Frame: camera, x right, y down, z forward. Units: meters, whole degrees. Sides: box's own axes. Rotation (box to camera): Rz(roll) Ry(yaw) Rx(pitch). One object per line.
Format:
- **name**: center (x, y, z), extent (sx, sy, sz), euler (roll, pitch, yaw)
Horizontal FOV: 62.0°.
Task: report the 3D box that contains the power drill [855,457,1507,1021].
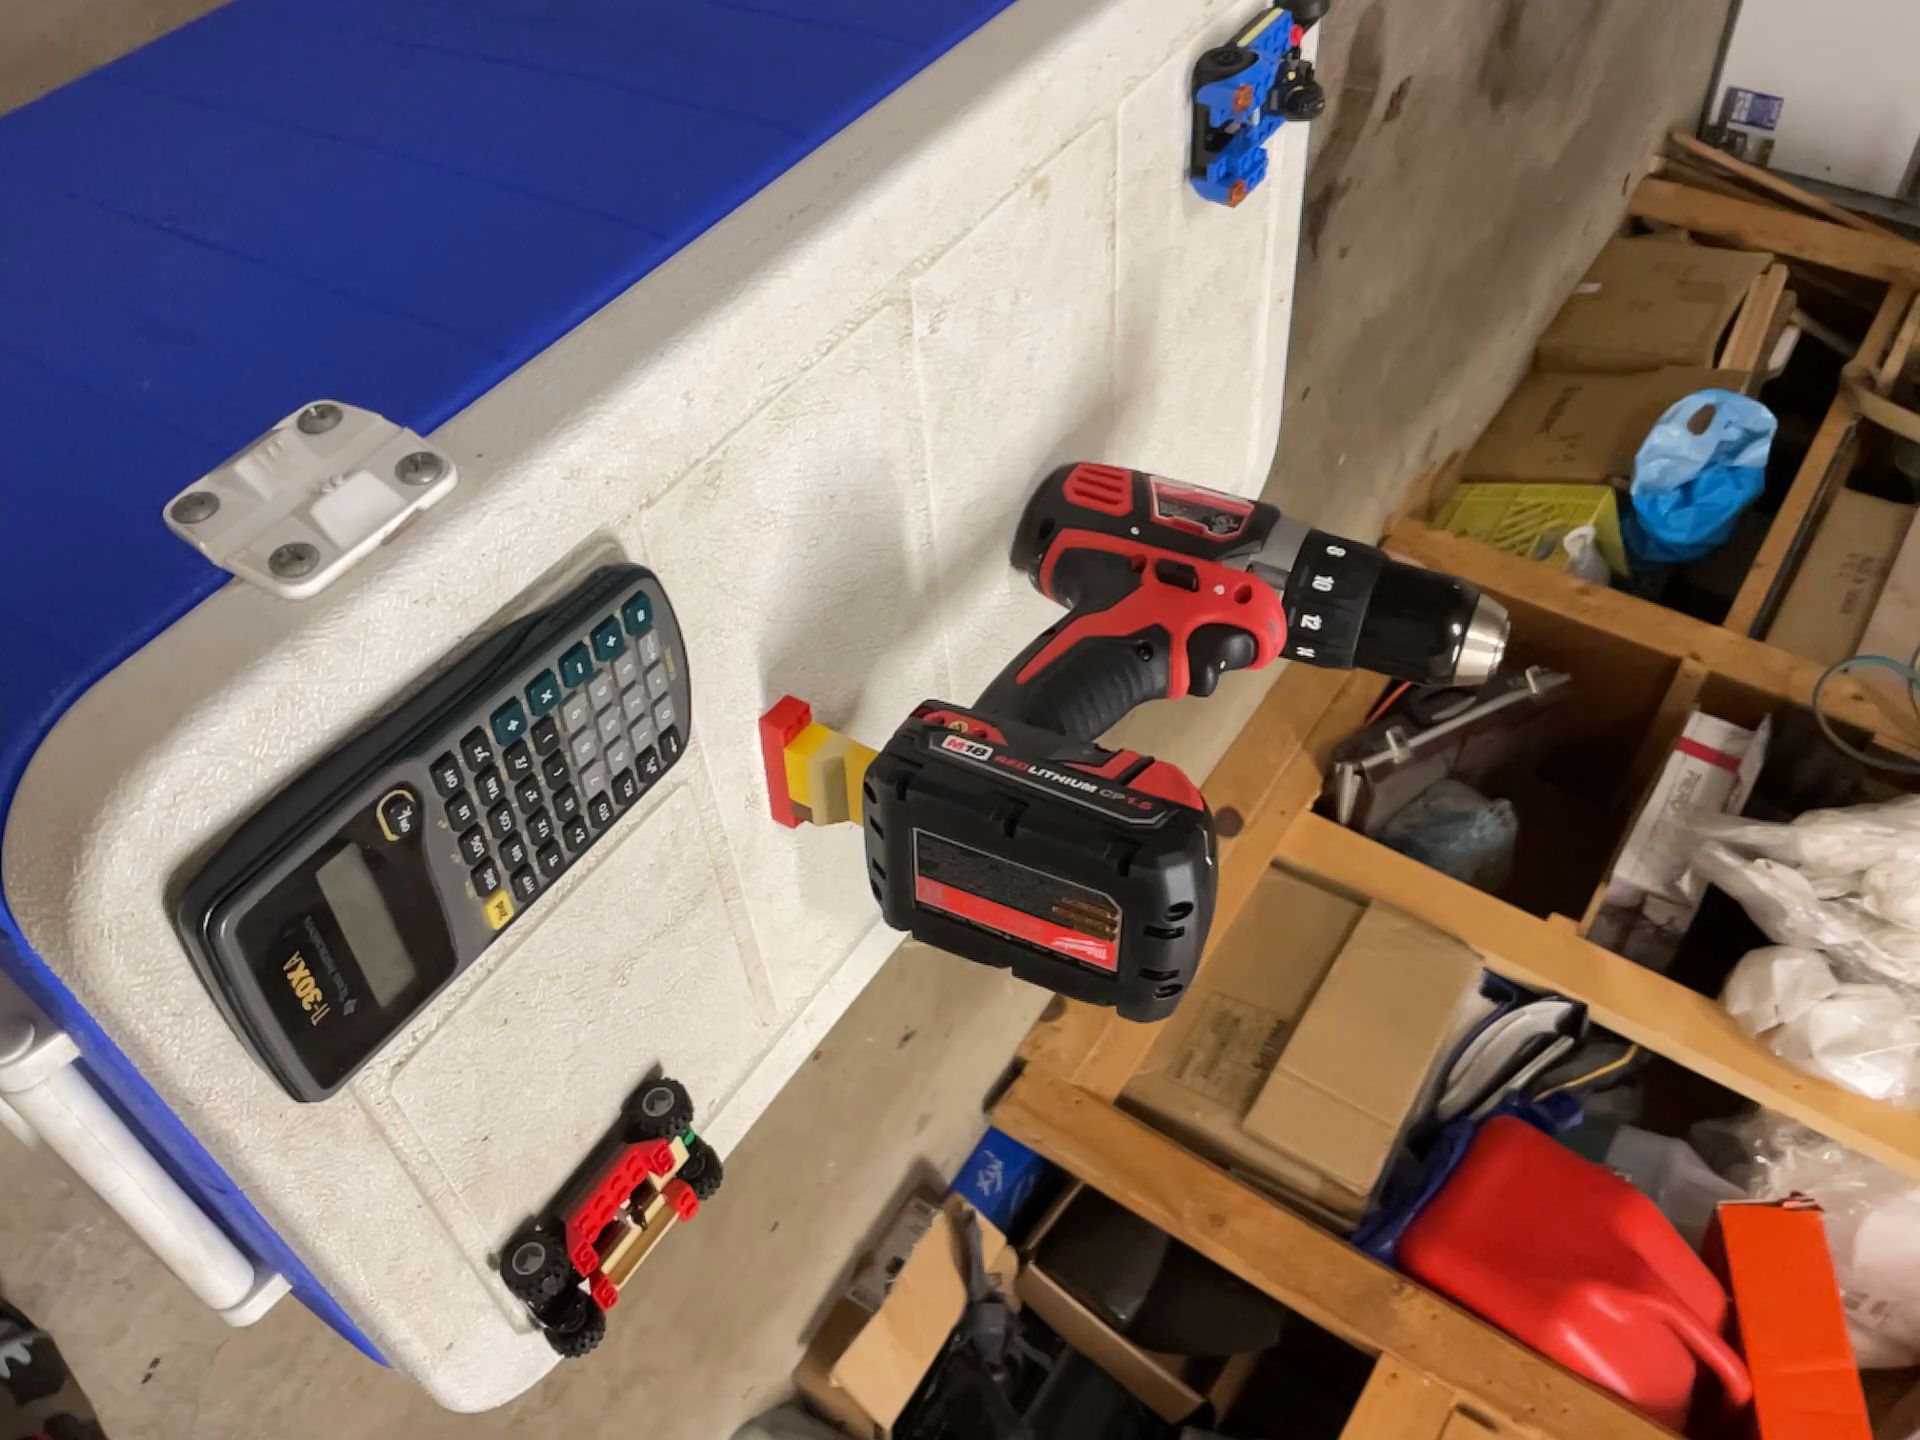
- **power drill**: center (0.083, -0.005, 0.574), extent (0.080, 0.188, 0.227), euler (91, 25, -43)
